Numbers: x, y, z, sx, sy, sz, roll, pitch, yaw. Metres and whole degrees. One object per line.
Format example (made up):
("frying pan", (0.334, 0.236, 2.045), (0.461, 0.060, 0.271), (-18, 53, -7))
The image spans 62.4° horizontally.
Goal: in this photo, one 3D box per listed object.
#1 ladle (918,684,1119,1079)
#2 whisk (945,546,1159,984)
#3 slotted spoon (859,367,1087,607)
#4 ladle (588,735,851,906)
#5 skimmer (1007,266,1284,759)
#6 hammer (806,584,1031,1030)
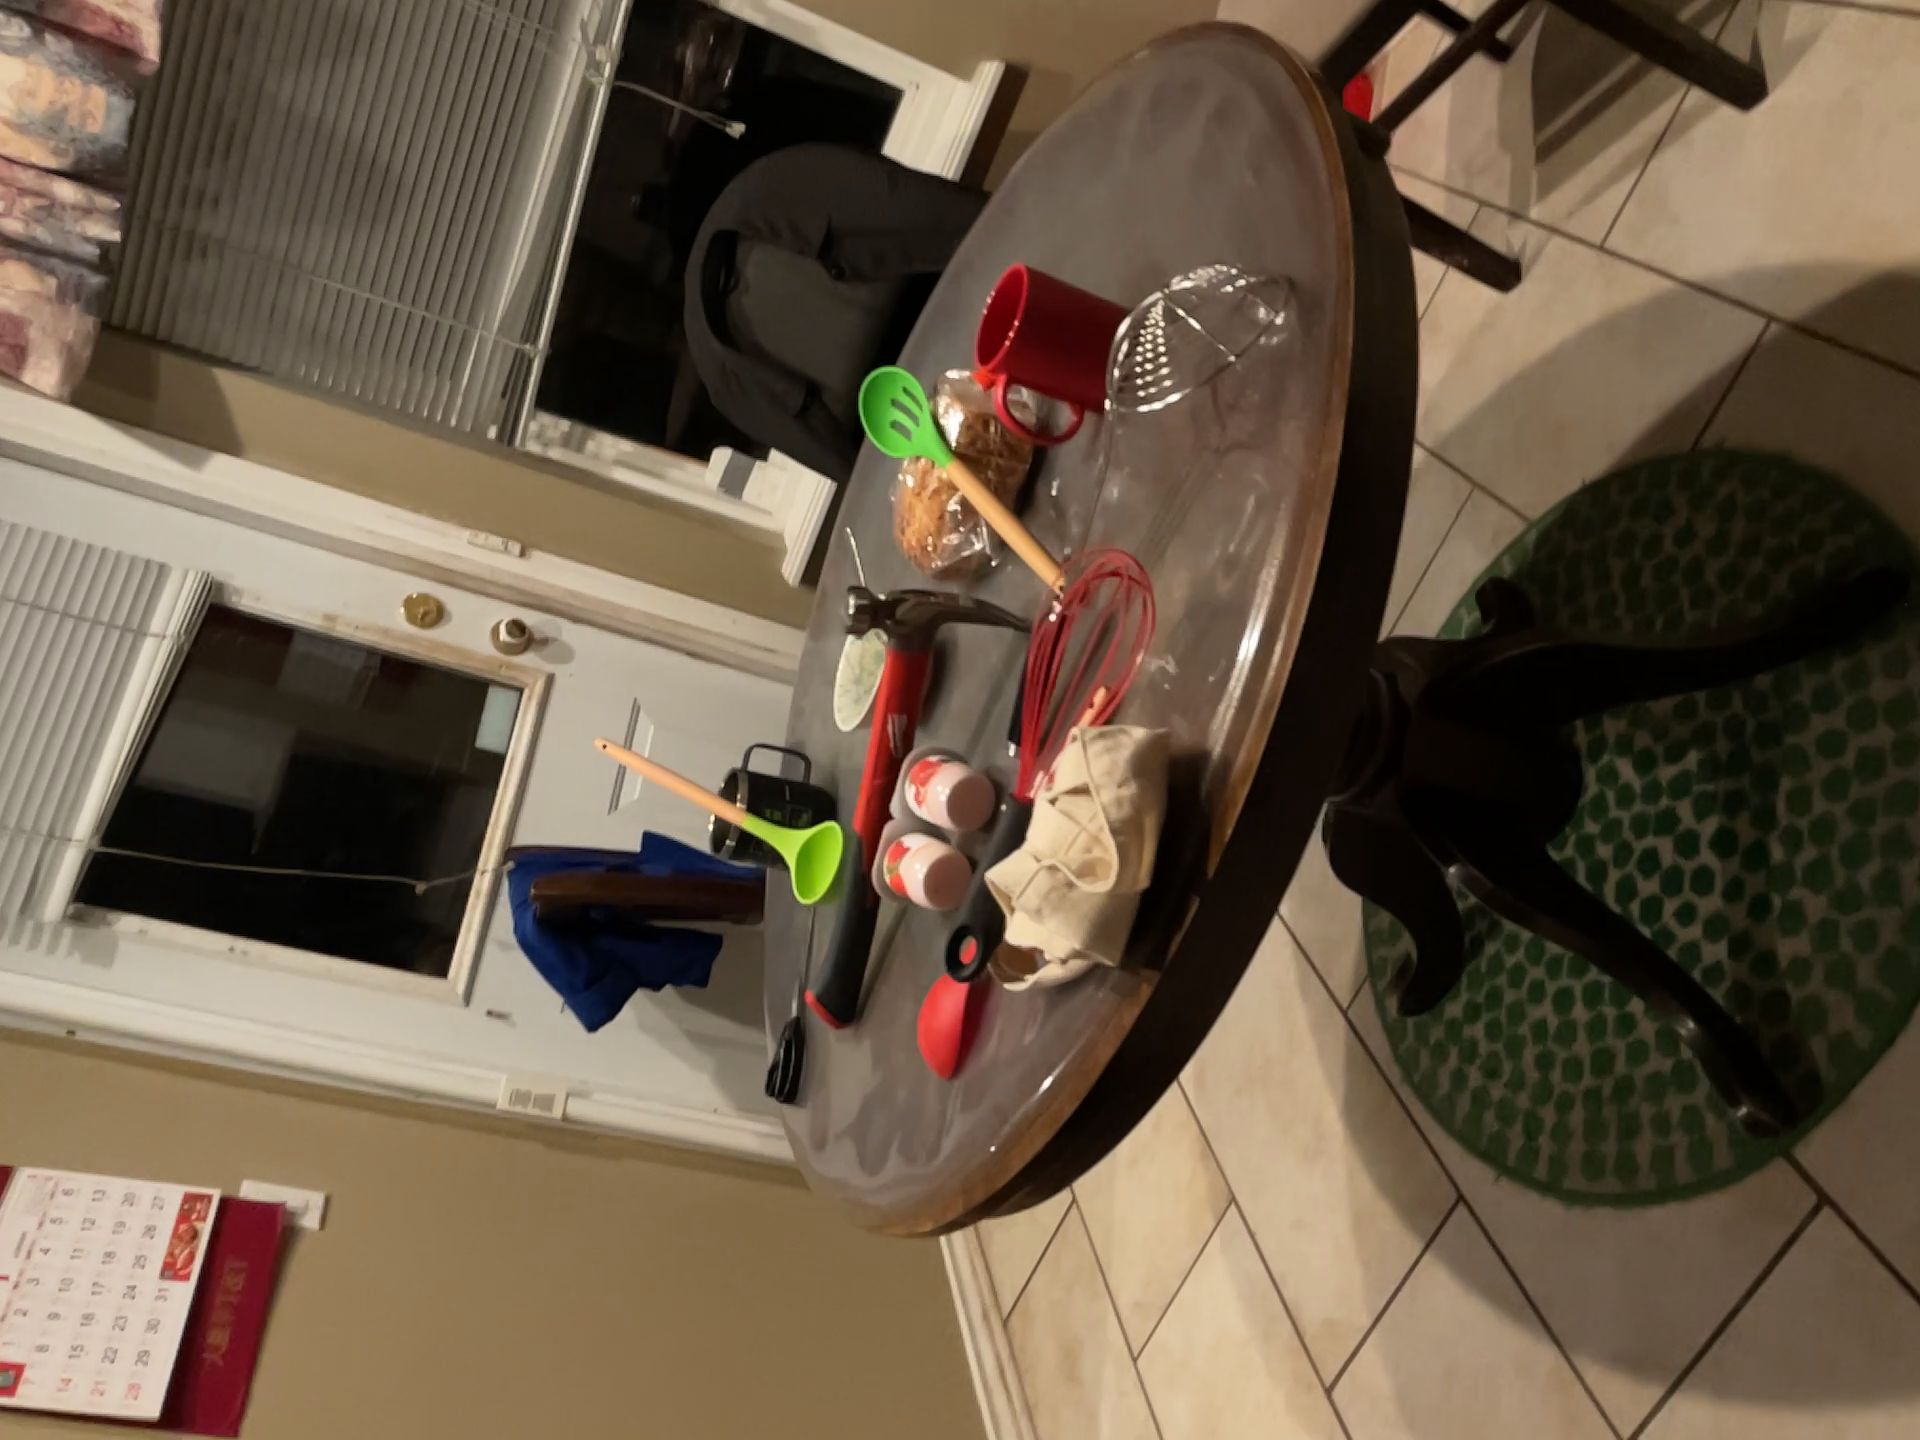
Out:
("ladle", (0.036, 0.114, 1.088), (0.315, 0.031, 0.069), (-64, 23, 18))
("whisk", (0.049, 0.033, 0.975), (0.296, 0.073, 0.073), (-69, 23, 14))
("slotted spoon", (0.008, -0.180, 1.222), (0.314, 0.031, 0.070), (51, 130, 38))
("ladle", (-0.227, 0.080, 1.464), (0.078, 0.320, 0.062), (-64, -23, -3))
("skimmer", (0.114, -0.125, 1.057), (0.127, 0.090, 0.363), (-96, 18, -60))
("hammer", (-0.051, 0.080, 1.263), (0.038, 0.143, 0.386), (-115, 34, -62))
